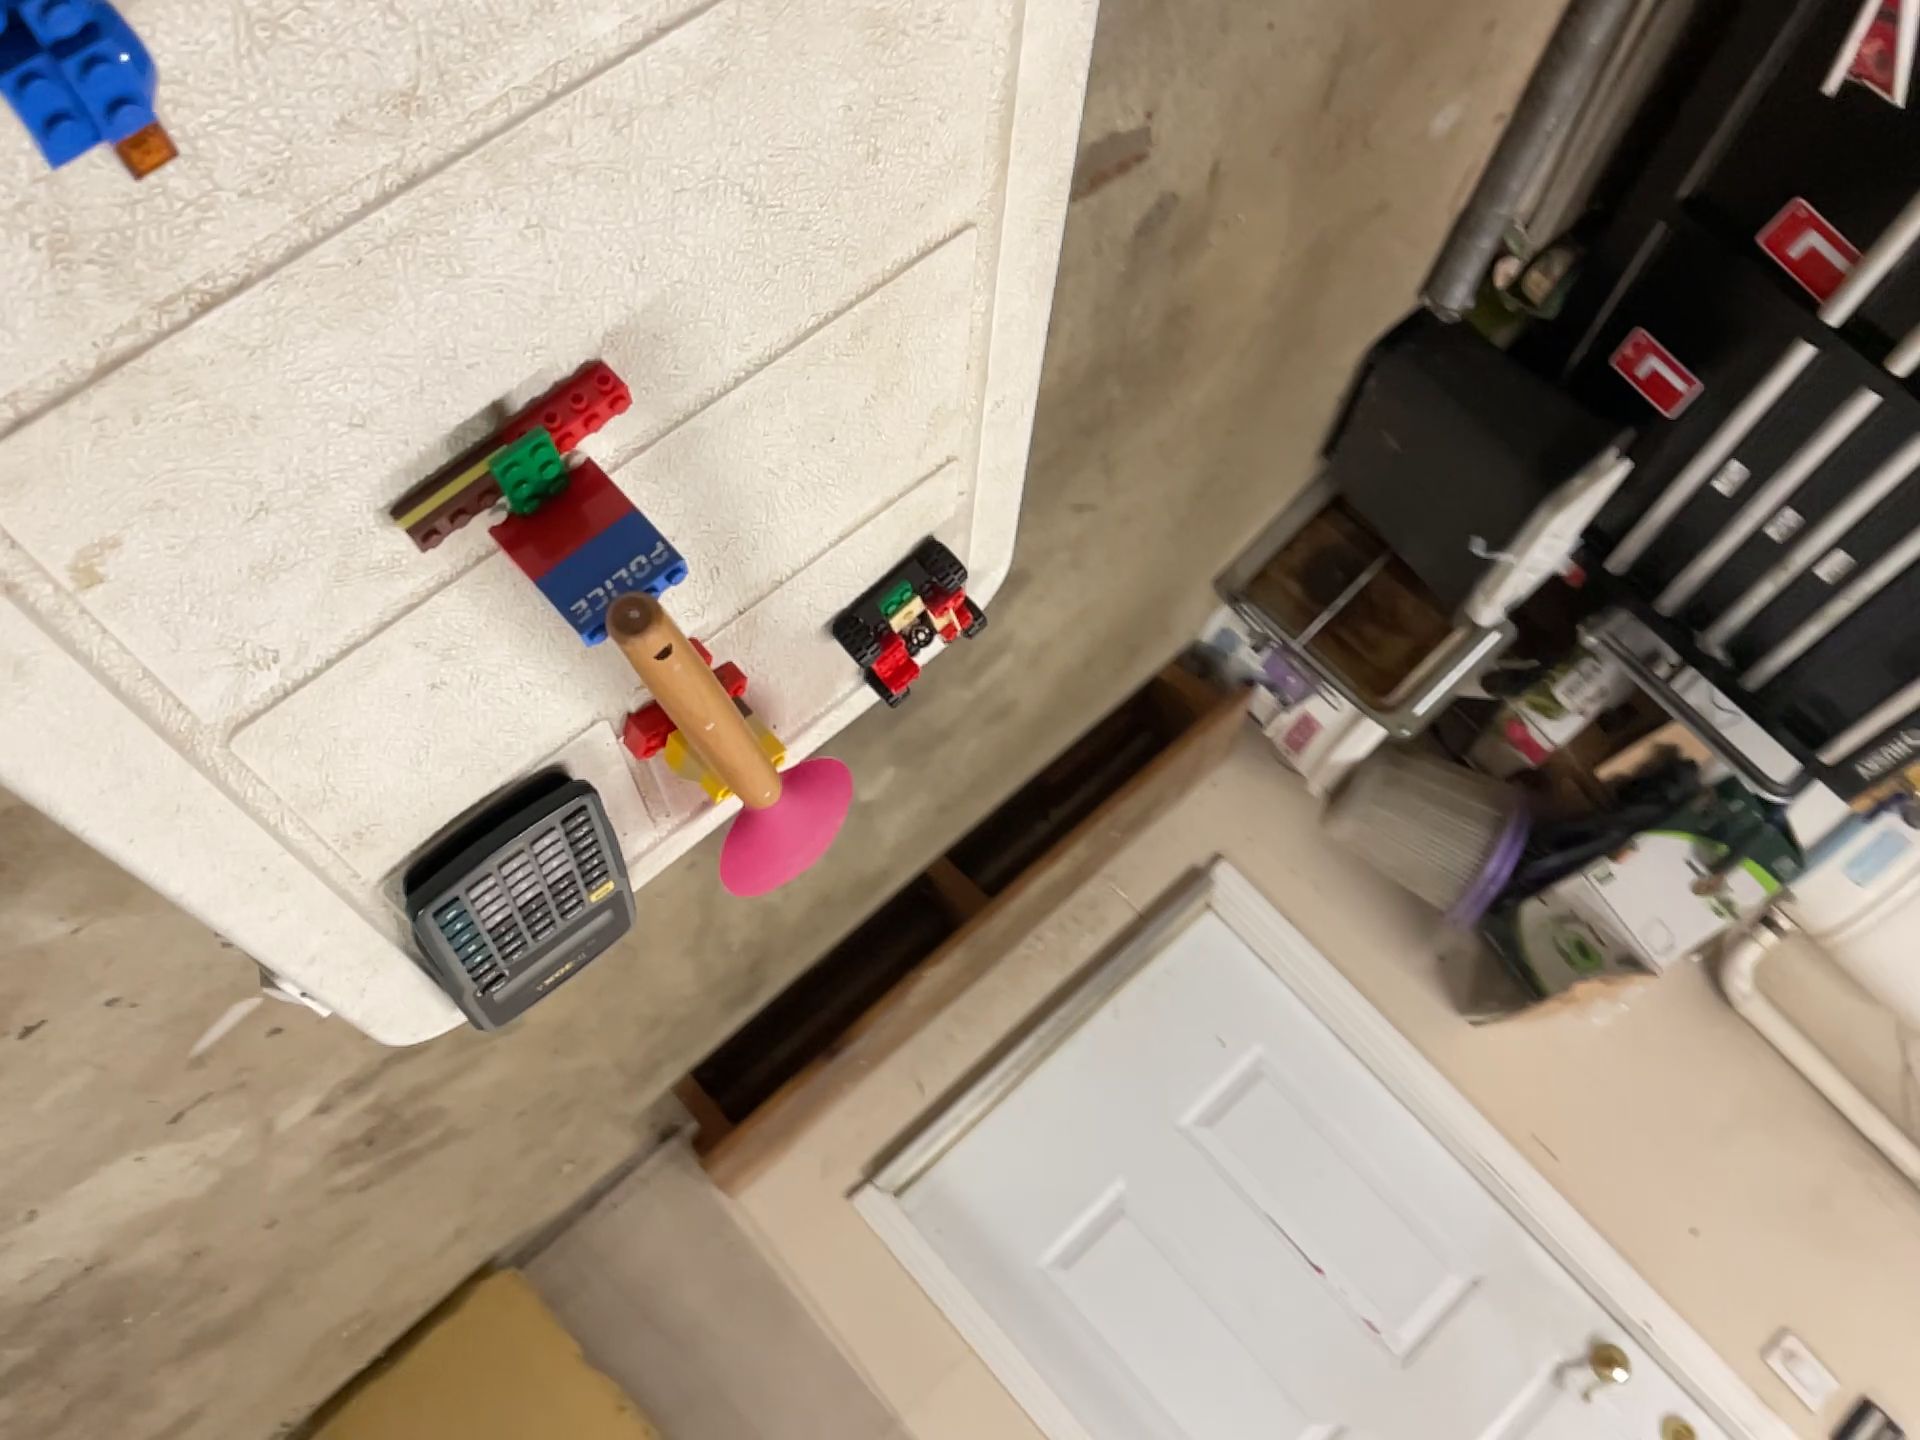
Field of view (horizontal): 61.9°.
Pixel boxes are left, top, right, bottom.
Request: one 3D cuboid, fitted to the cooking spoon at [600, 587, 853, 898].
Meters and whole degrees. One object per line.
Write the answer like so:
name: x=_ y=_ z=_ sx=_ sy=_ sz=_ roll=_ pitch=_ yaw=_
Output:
cooking spoon: x=-0.071 y=0.017 z=0.532 sx=0.069 sy=0.017 sz=0.318 roll=-46 pitch=167 yaw=-9
